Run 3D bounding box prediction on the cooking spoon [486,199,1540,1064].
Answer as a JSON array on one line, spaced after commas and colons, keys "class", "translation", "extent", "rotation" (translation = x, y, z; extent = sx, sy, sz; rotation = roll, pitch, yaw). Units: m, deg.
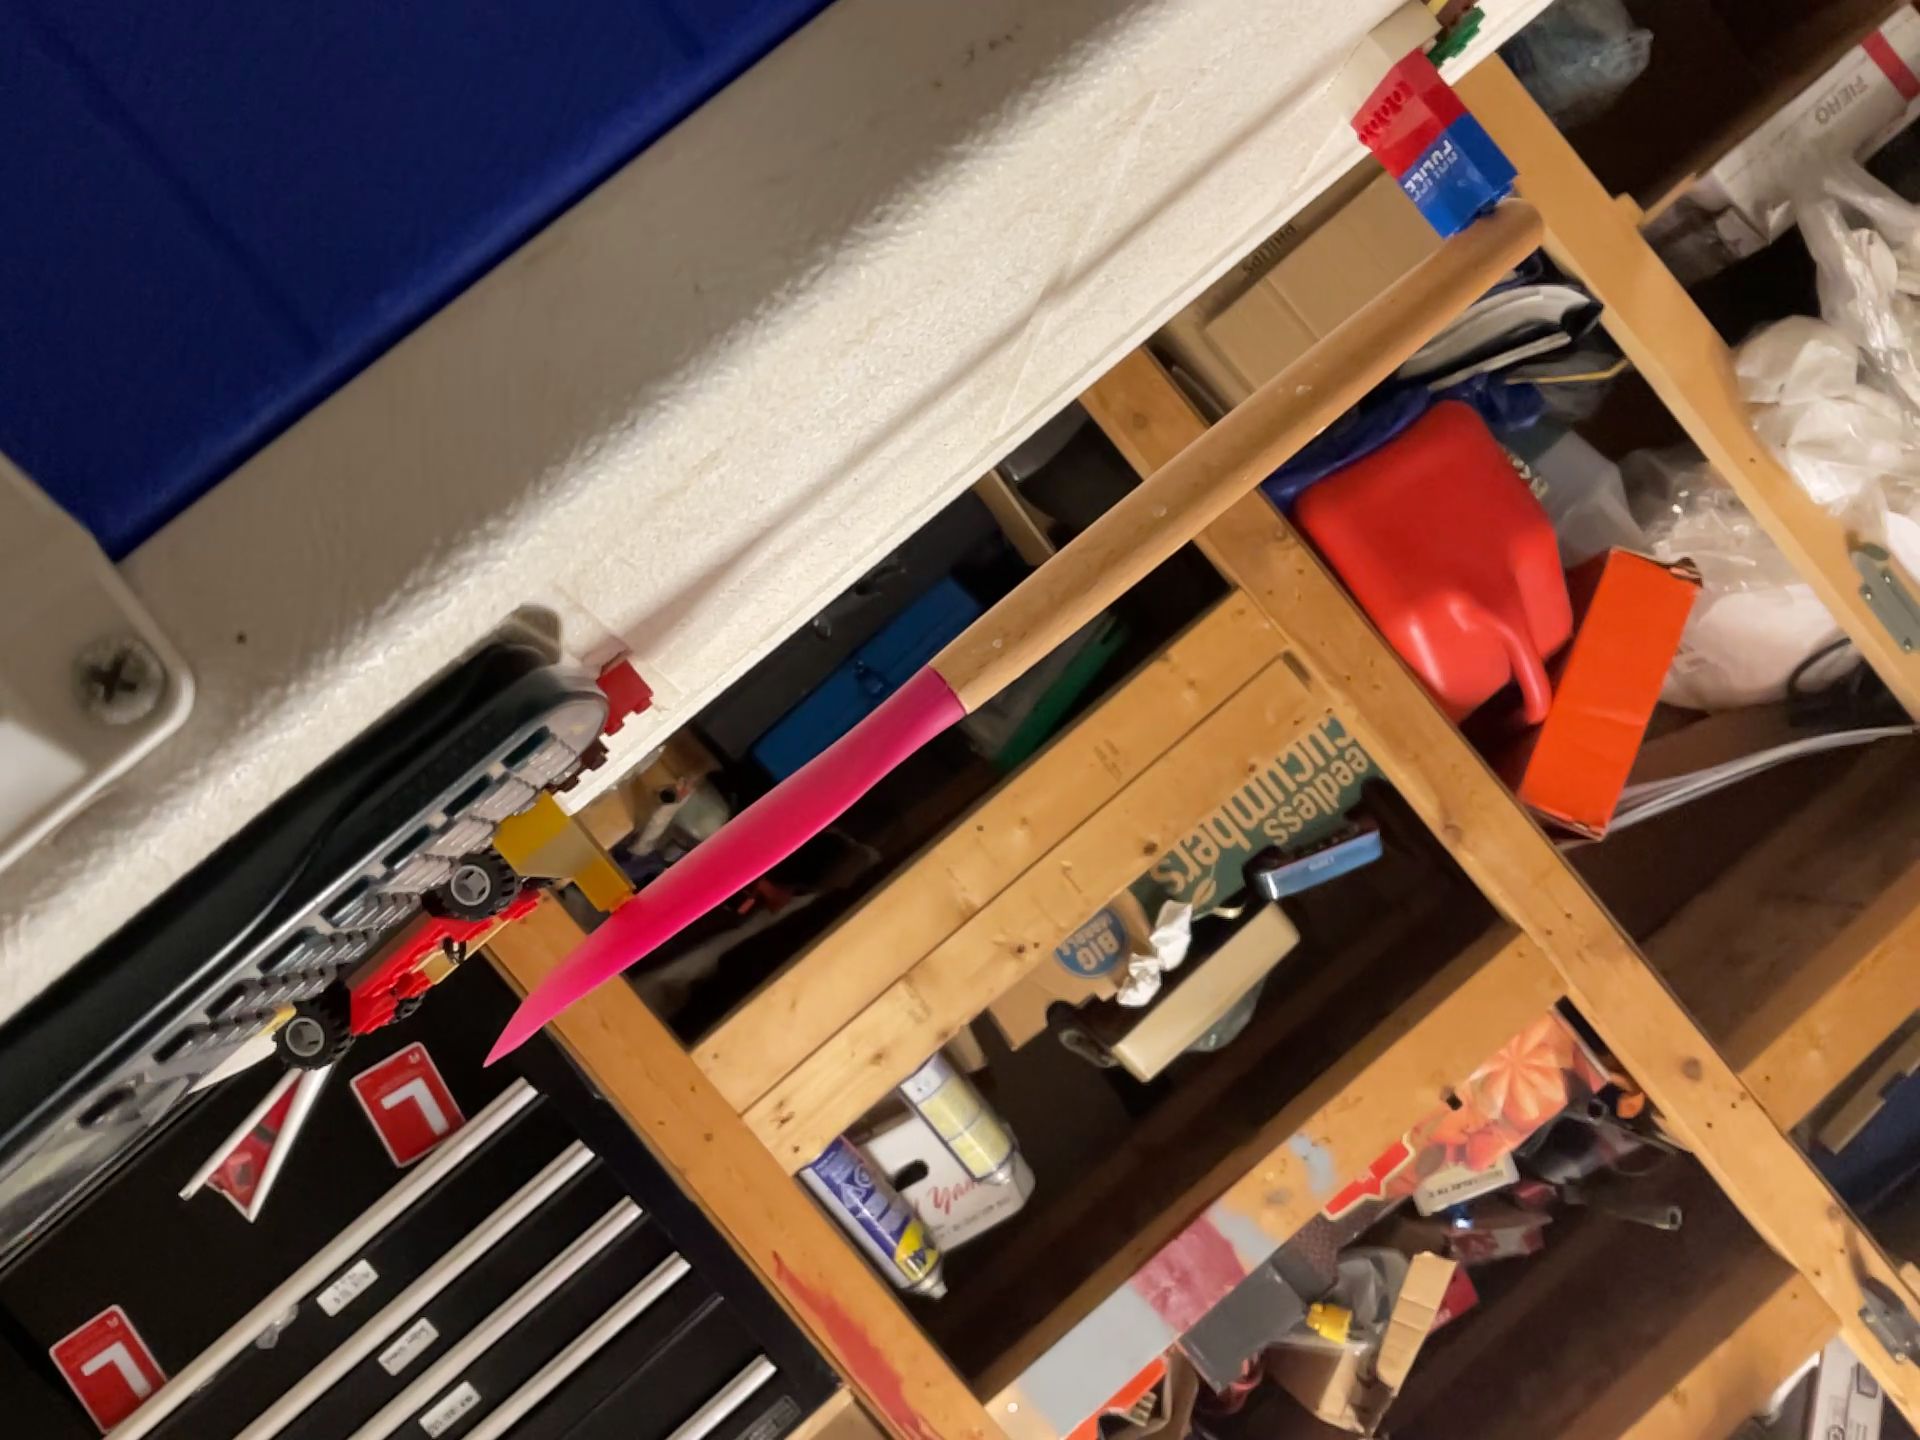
[{"class": "cooking spoon", "translation": [0.016, -0.024, 0.380], "extent": [0.319, 0.017, 0.069], "rotation": [-39, -179, -5]}]
